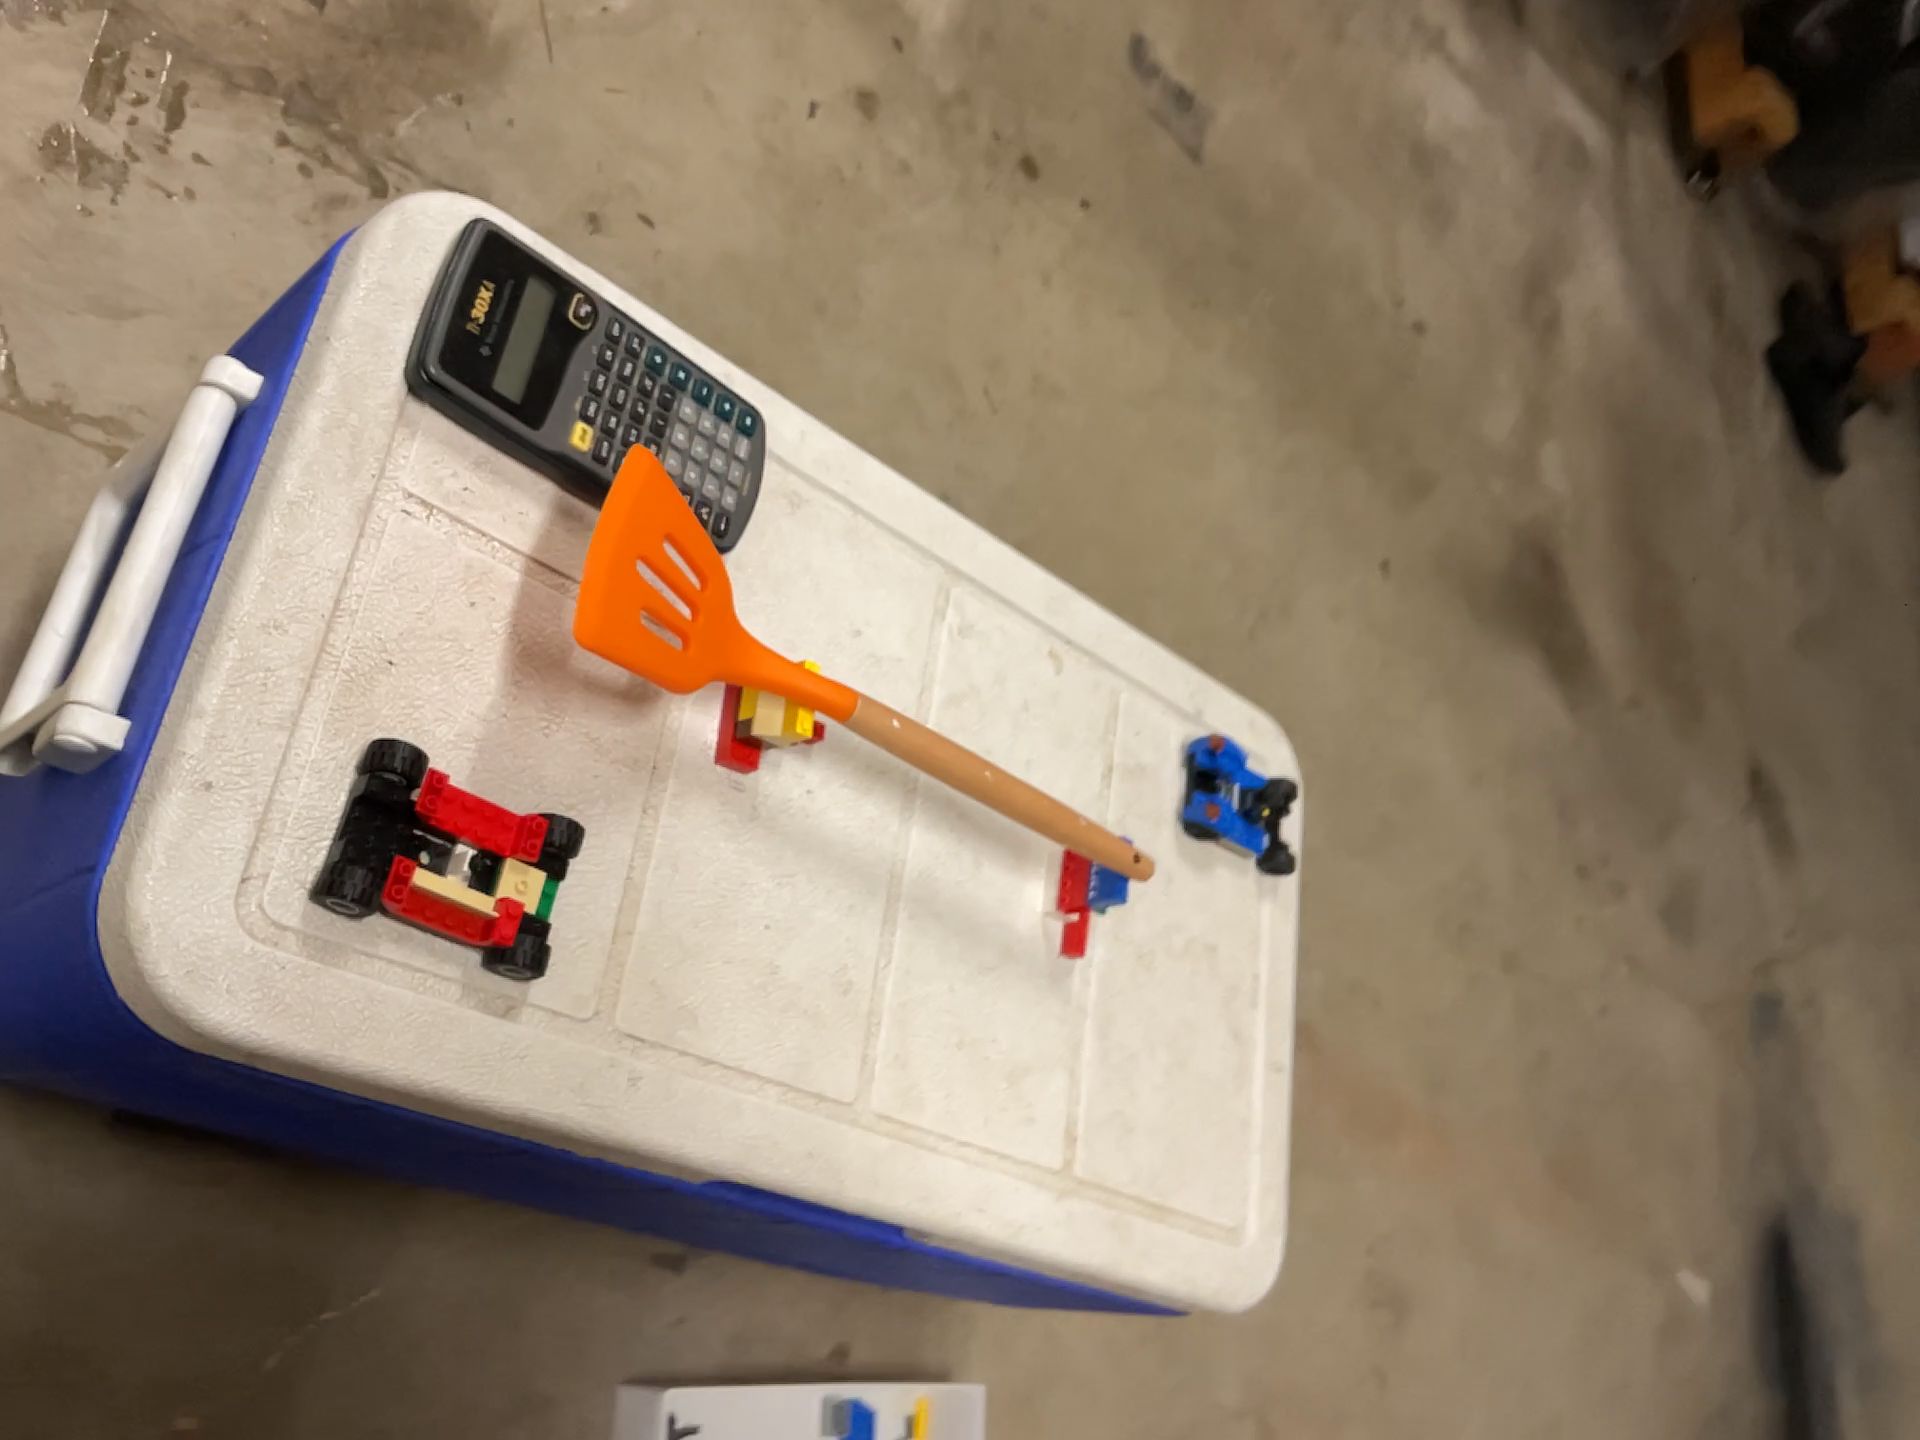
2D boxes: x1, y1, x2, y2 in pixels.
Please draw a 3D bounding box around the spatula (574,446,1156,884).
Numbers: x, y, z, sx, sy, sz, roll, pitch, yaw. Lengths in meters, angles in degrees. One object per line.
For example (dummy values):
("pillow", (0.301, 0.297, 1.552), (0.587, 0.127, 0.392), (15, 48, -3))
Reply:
("spatula", (-0.022, 0.004, 0.650), (0.322, 0.041, 0.081), (30, 61, -35))
